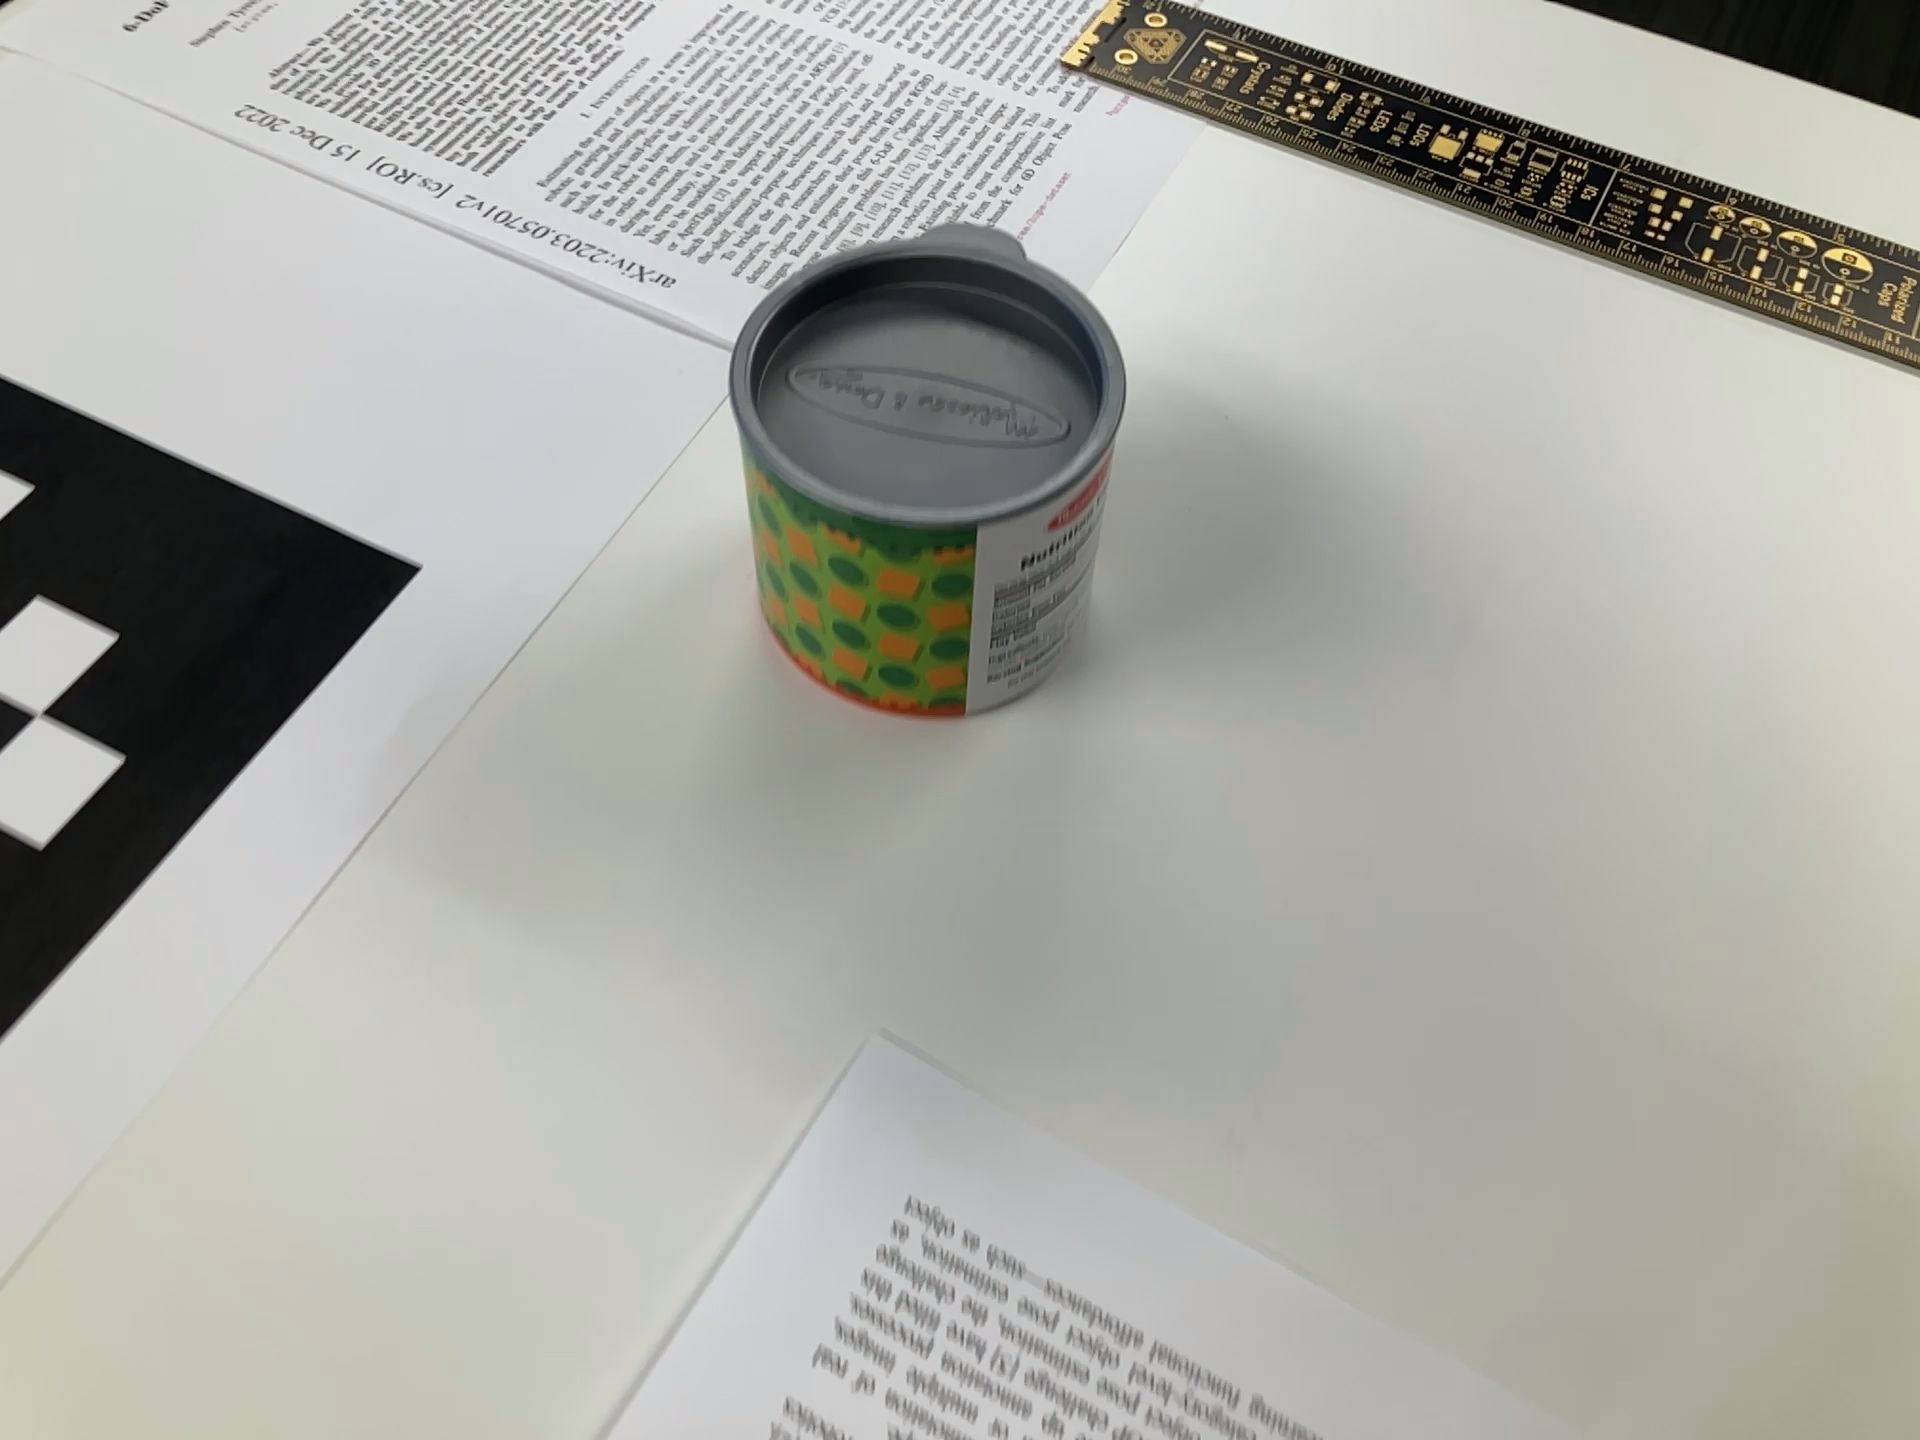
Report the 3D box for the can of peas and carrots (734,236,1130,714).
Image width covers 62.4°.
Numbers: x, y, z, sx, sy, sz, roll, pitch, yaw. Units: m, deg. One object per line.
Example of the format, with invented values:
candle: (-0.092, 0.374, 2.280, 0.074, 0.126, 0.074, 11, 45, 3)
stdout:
can of peas and carrots: (-0.008, -0.045, 0.290, 0.071, 0.059, 0.071, 1, 57, -2)
